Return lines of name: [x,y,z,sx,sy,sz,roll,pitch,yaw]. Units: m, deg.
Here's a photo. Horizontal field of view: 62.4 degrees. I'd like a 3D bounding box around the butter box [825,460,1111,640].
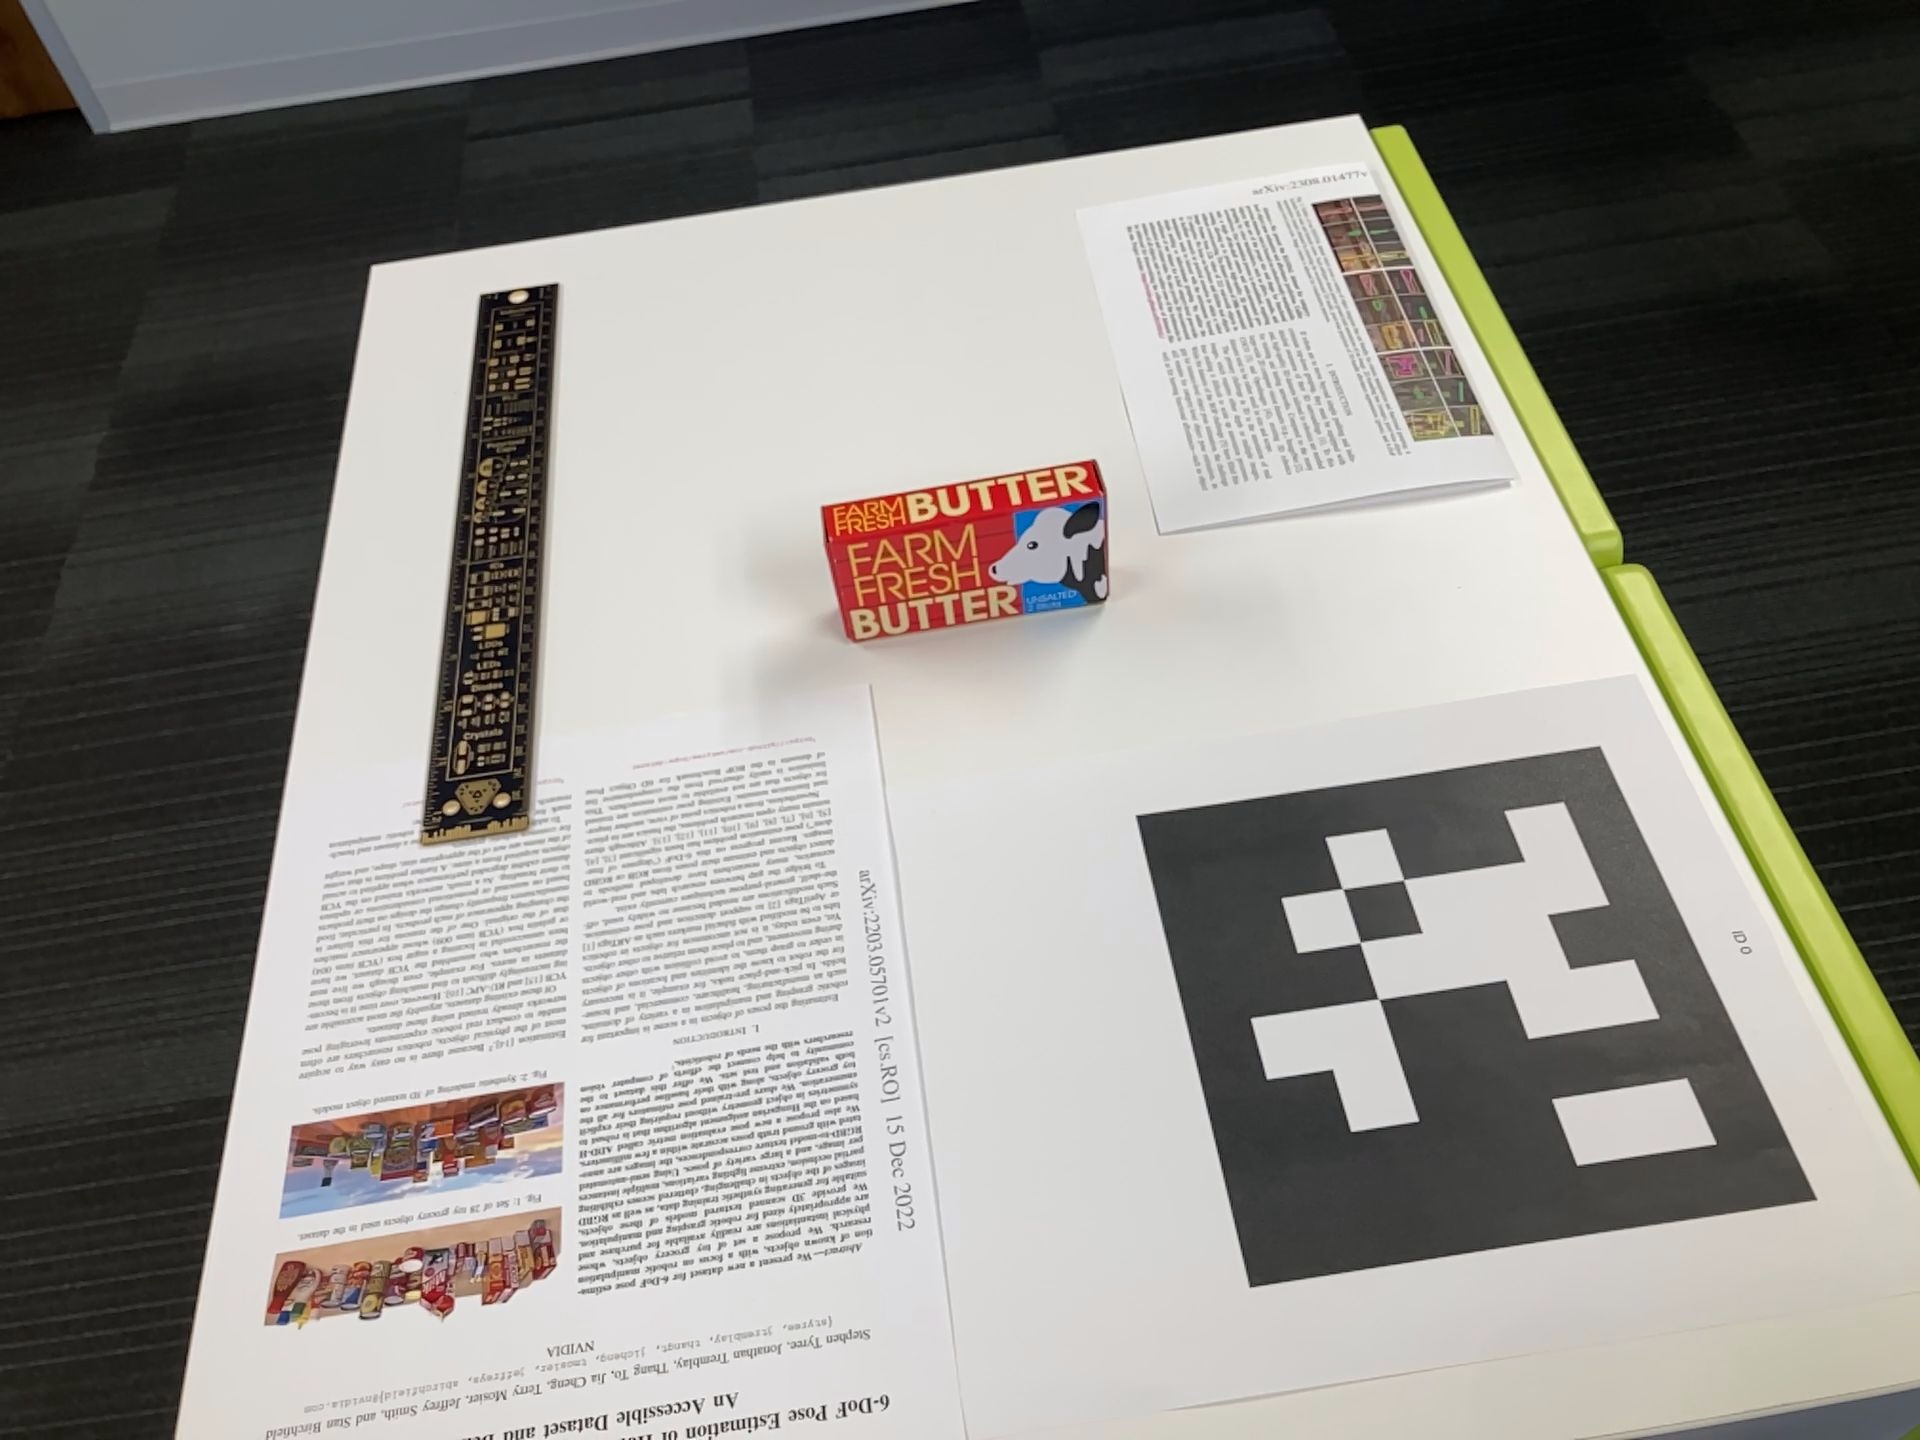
butter box: [0.004,-0.064,0.598,0.103,0.053,0.024,-9,47,-1]
